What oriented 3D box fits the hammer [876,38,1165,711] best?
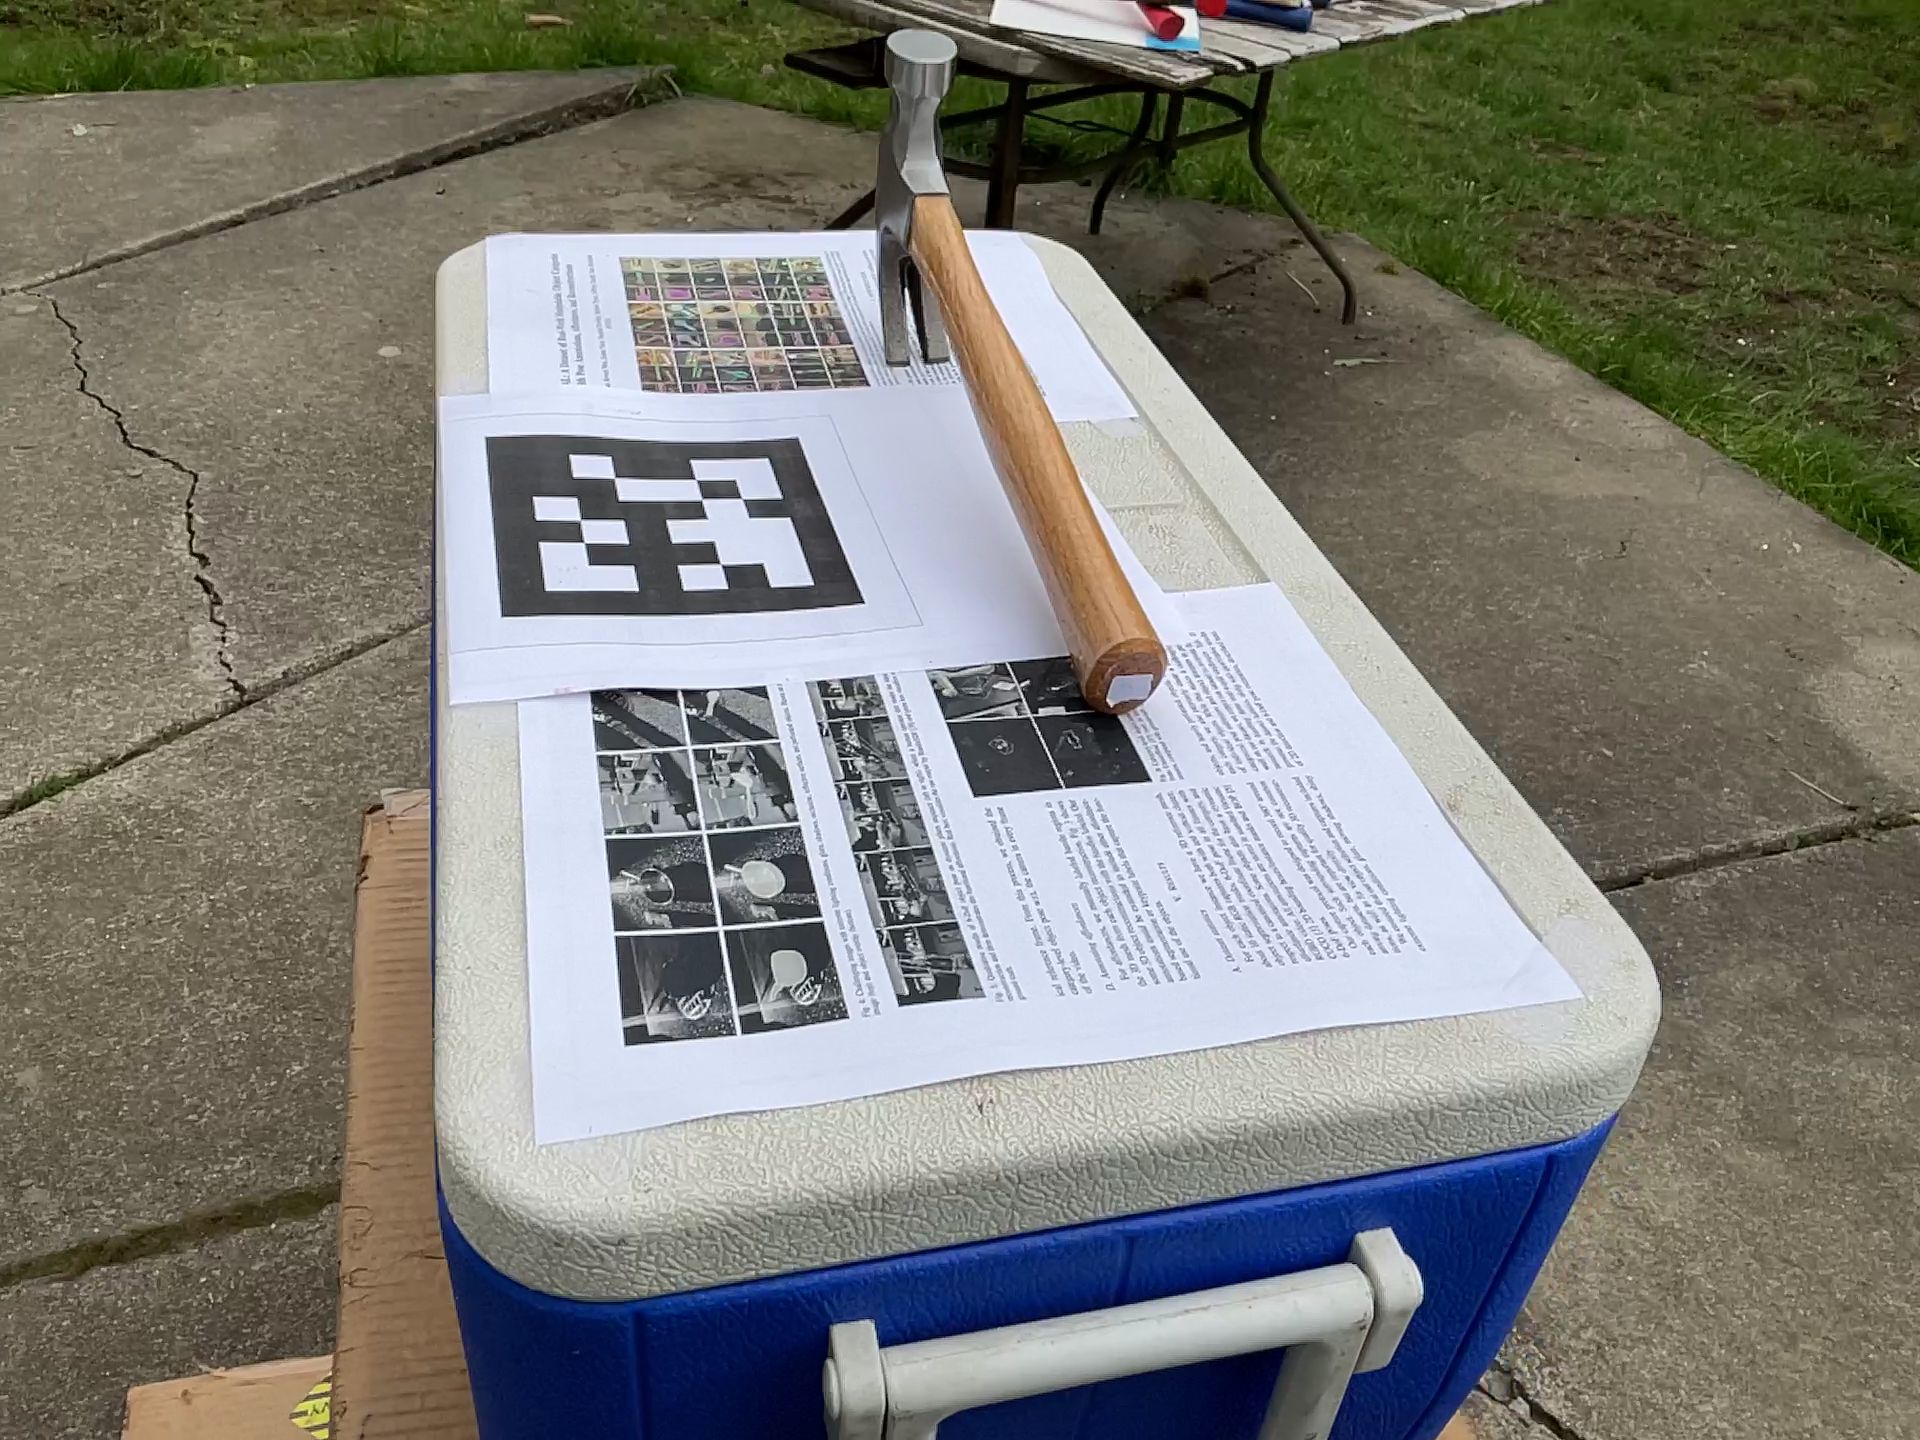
[{"bbox_3d":[0.014,-0.132,0.634,0.031,0.130,0.332,-7,49,-14],"label":"hammer"}]
